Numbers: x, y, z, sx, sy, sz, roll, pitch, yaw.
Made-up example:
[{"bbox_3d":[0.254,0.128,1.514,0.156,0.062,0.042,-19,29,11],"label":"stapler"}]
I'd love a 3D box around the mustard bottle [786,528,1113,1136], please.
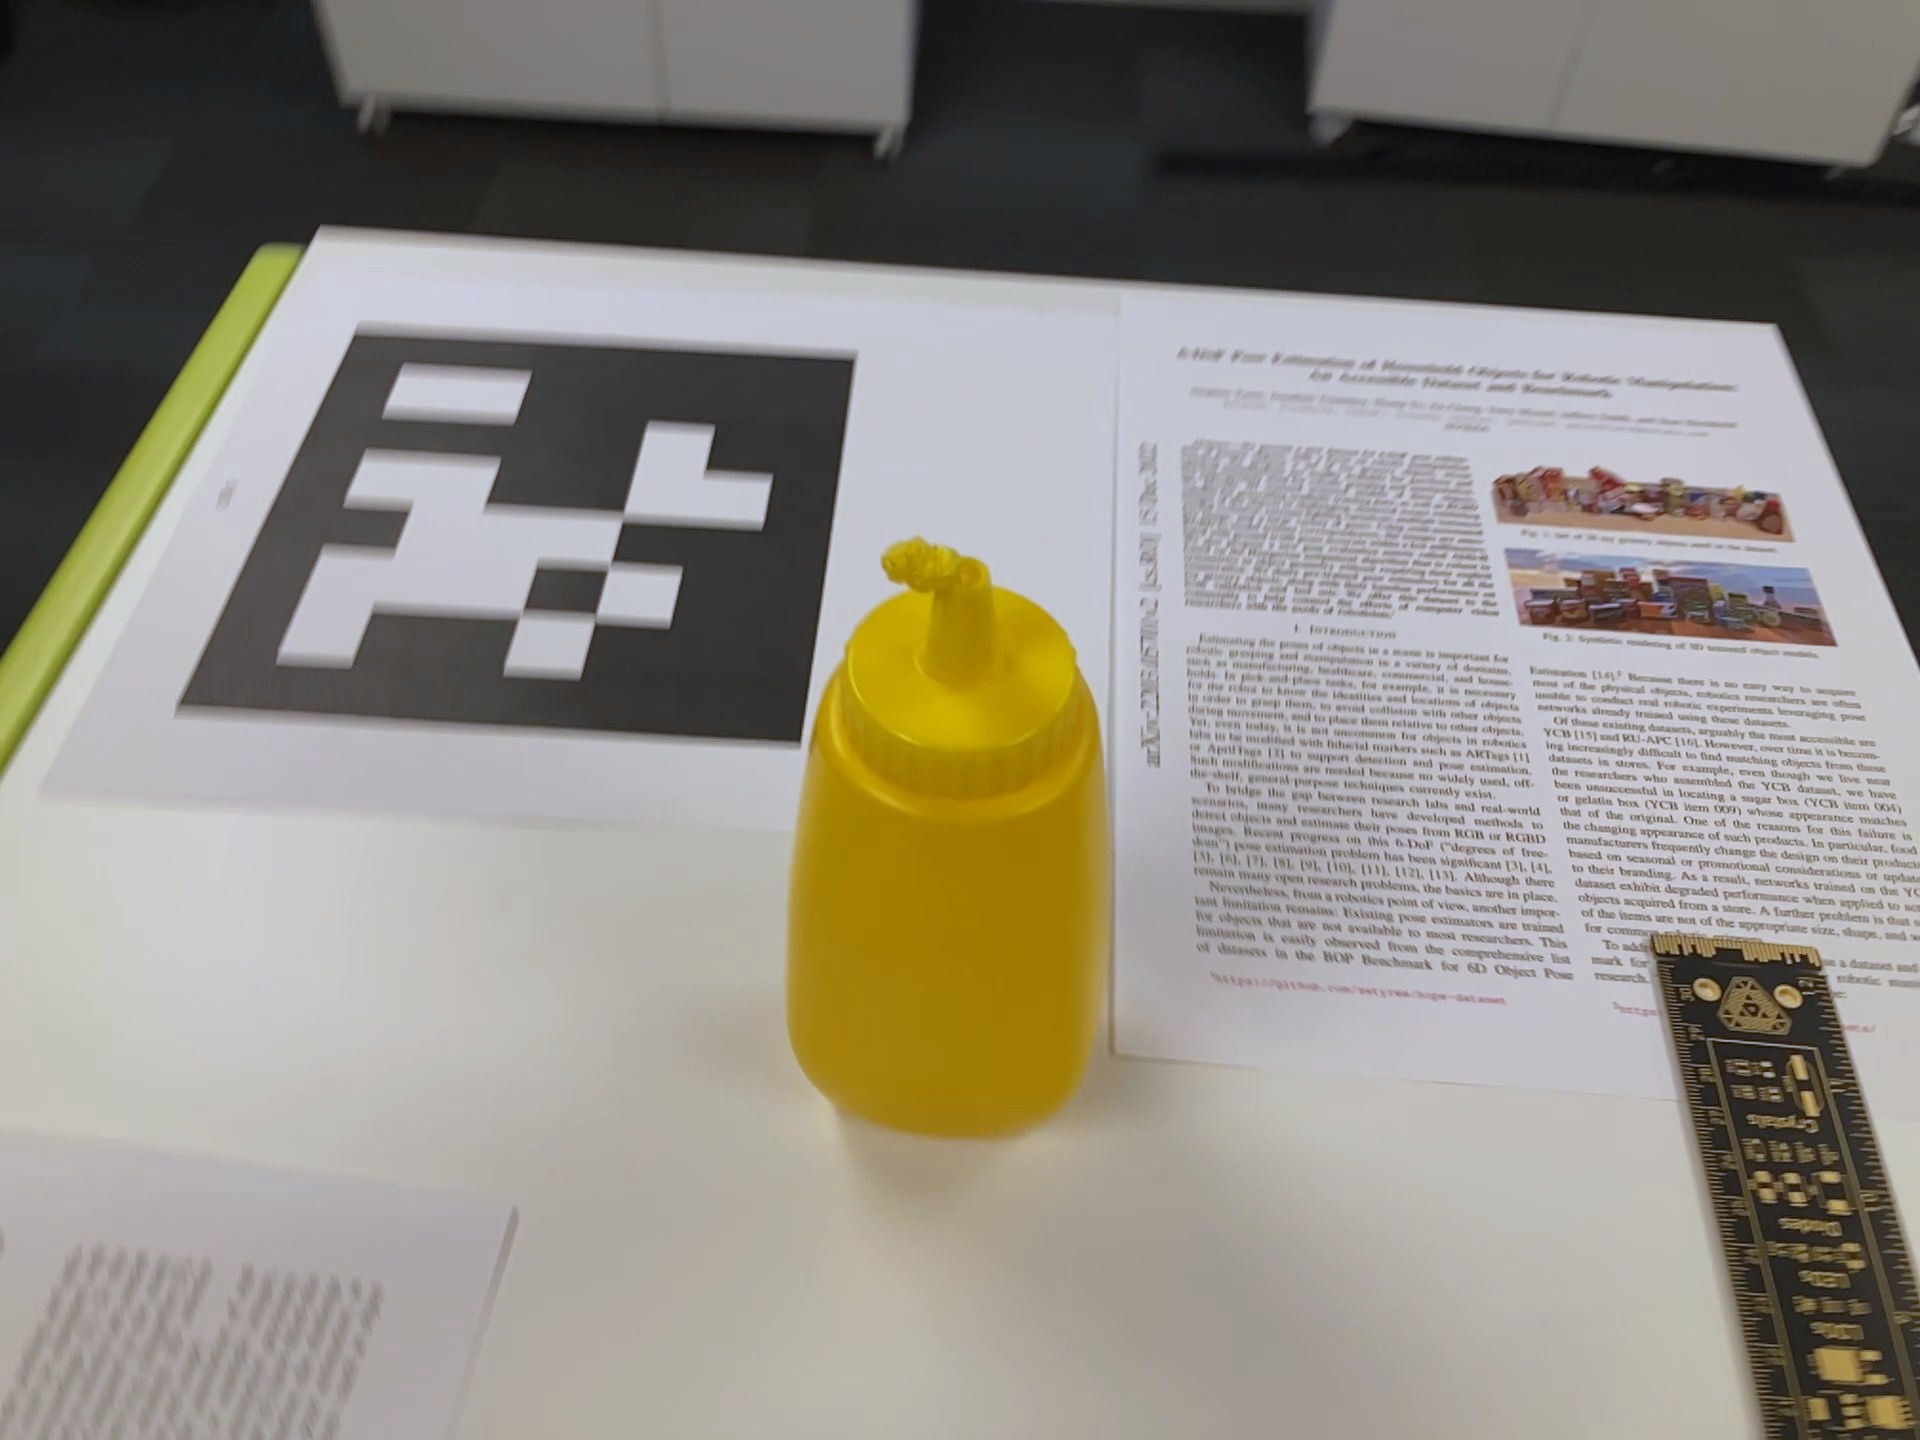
[{"bbox_3d":[-0.001,0.022,0.294,0.065,0.160,0.049,8,49,3],"label":"mustard bottle"}]
